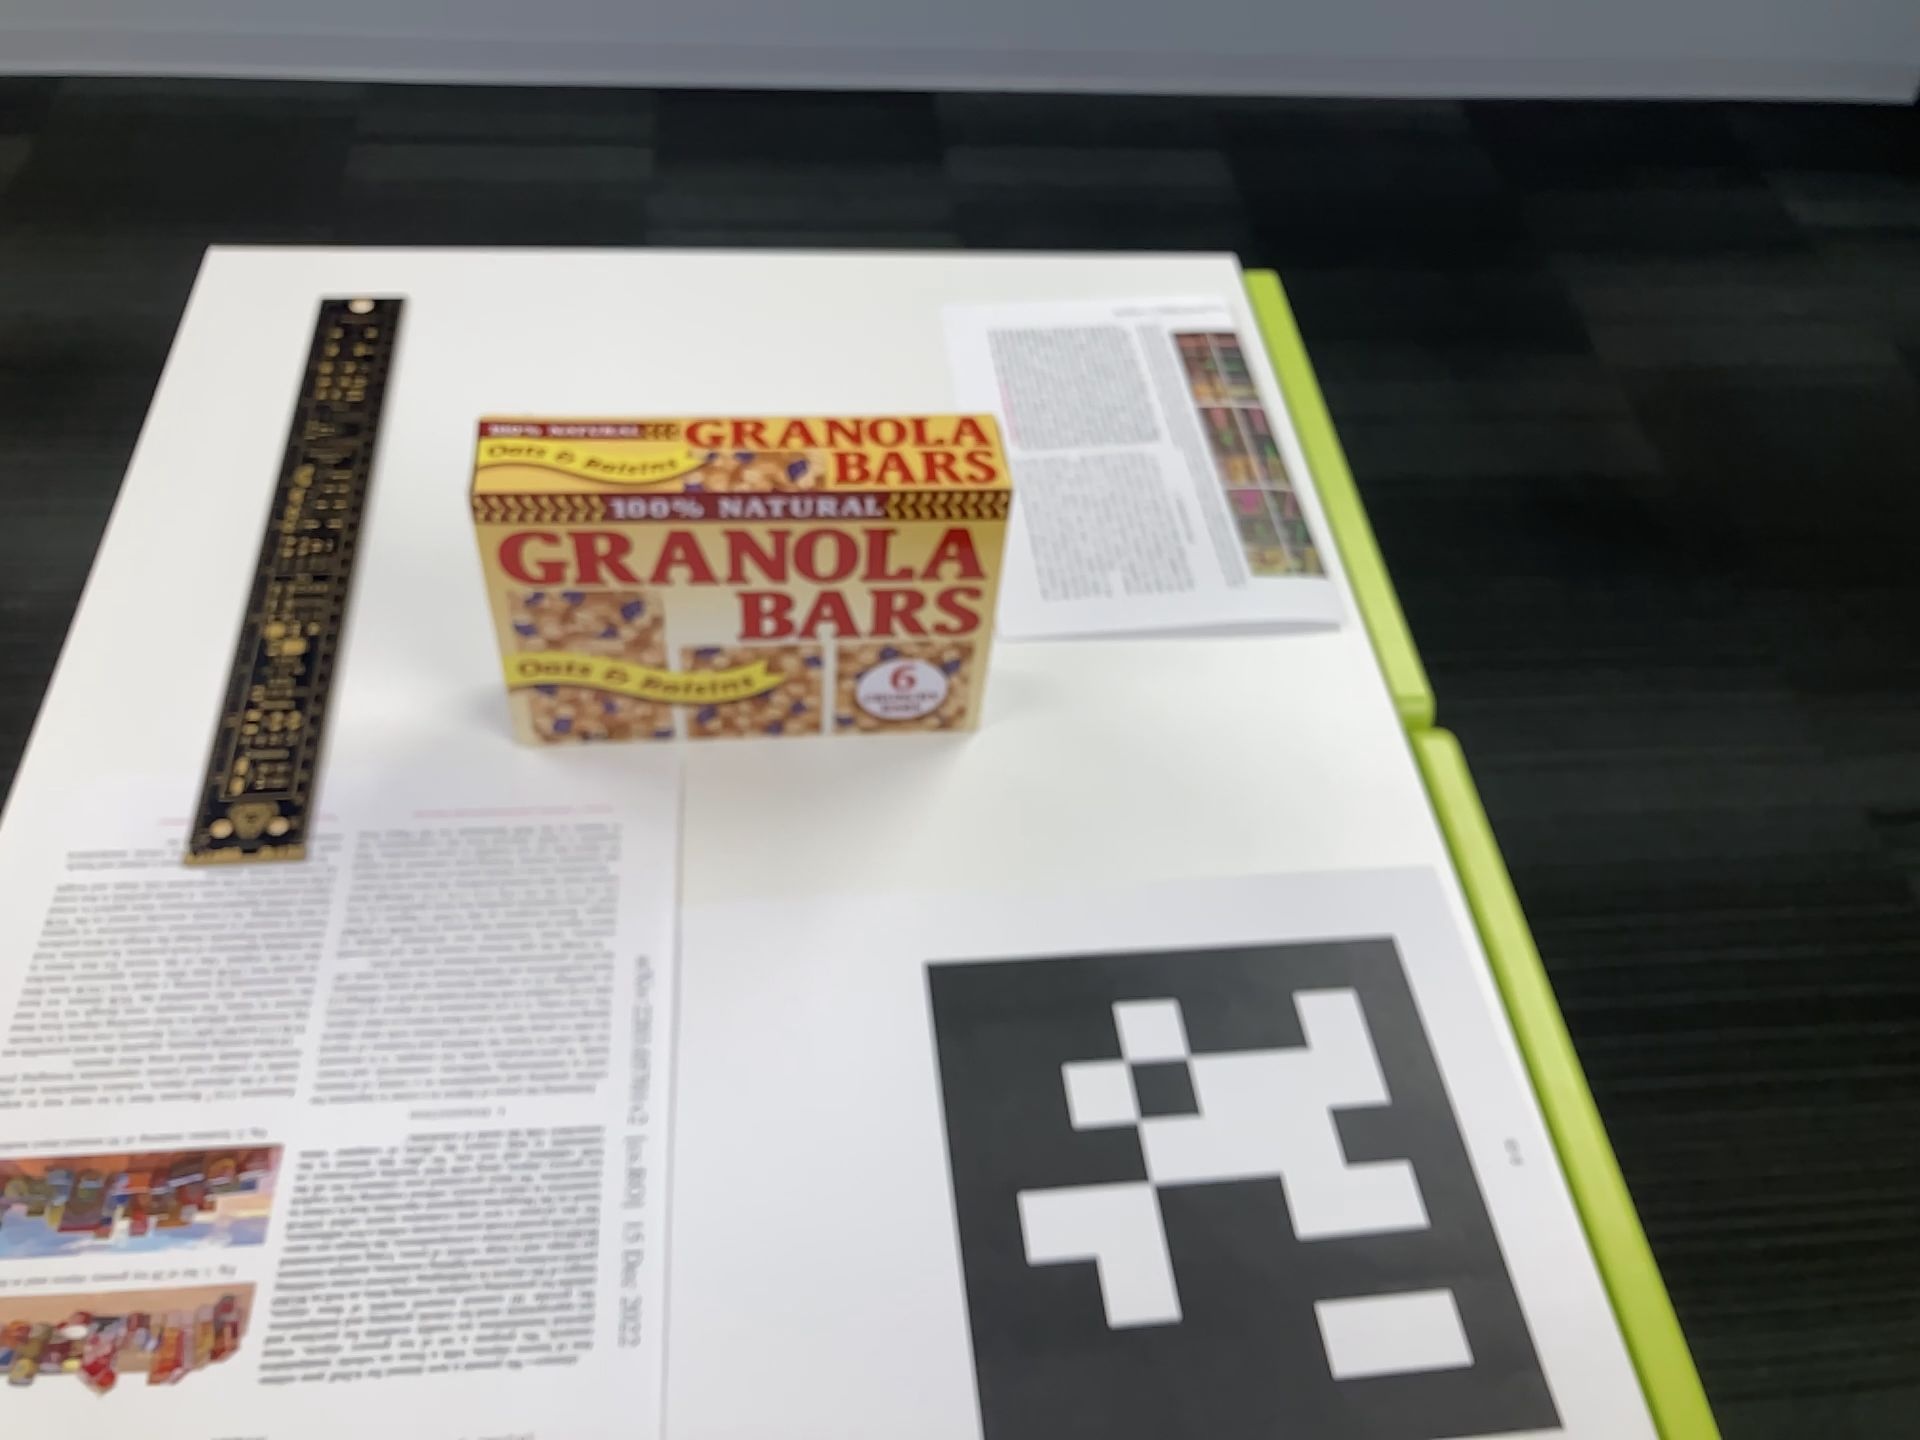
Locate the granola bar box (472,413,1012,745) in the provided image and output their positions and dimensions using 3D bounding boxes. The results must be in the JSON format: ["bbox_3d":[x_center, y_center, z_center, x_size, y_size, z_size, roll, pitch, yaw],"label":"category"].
[{"bbox_3d":[-0.072,-0.047,0.551,0.165,0.124,0.039,-2,51,-7],"label":"granola bar box"}]
